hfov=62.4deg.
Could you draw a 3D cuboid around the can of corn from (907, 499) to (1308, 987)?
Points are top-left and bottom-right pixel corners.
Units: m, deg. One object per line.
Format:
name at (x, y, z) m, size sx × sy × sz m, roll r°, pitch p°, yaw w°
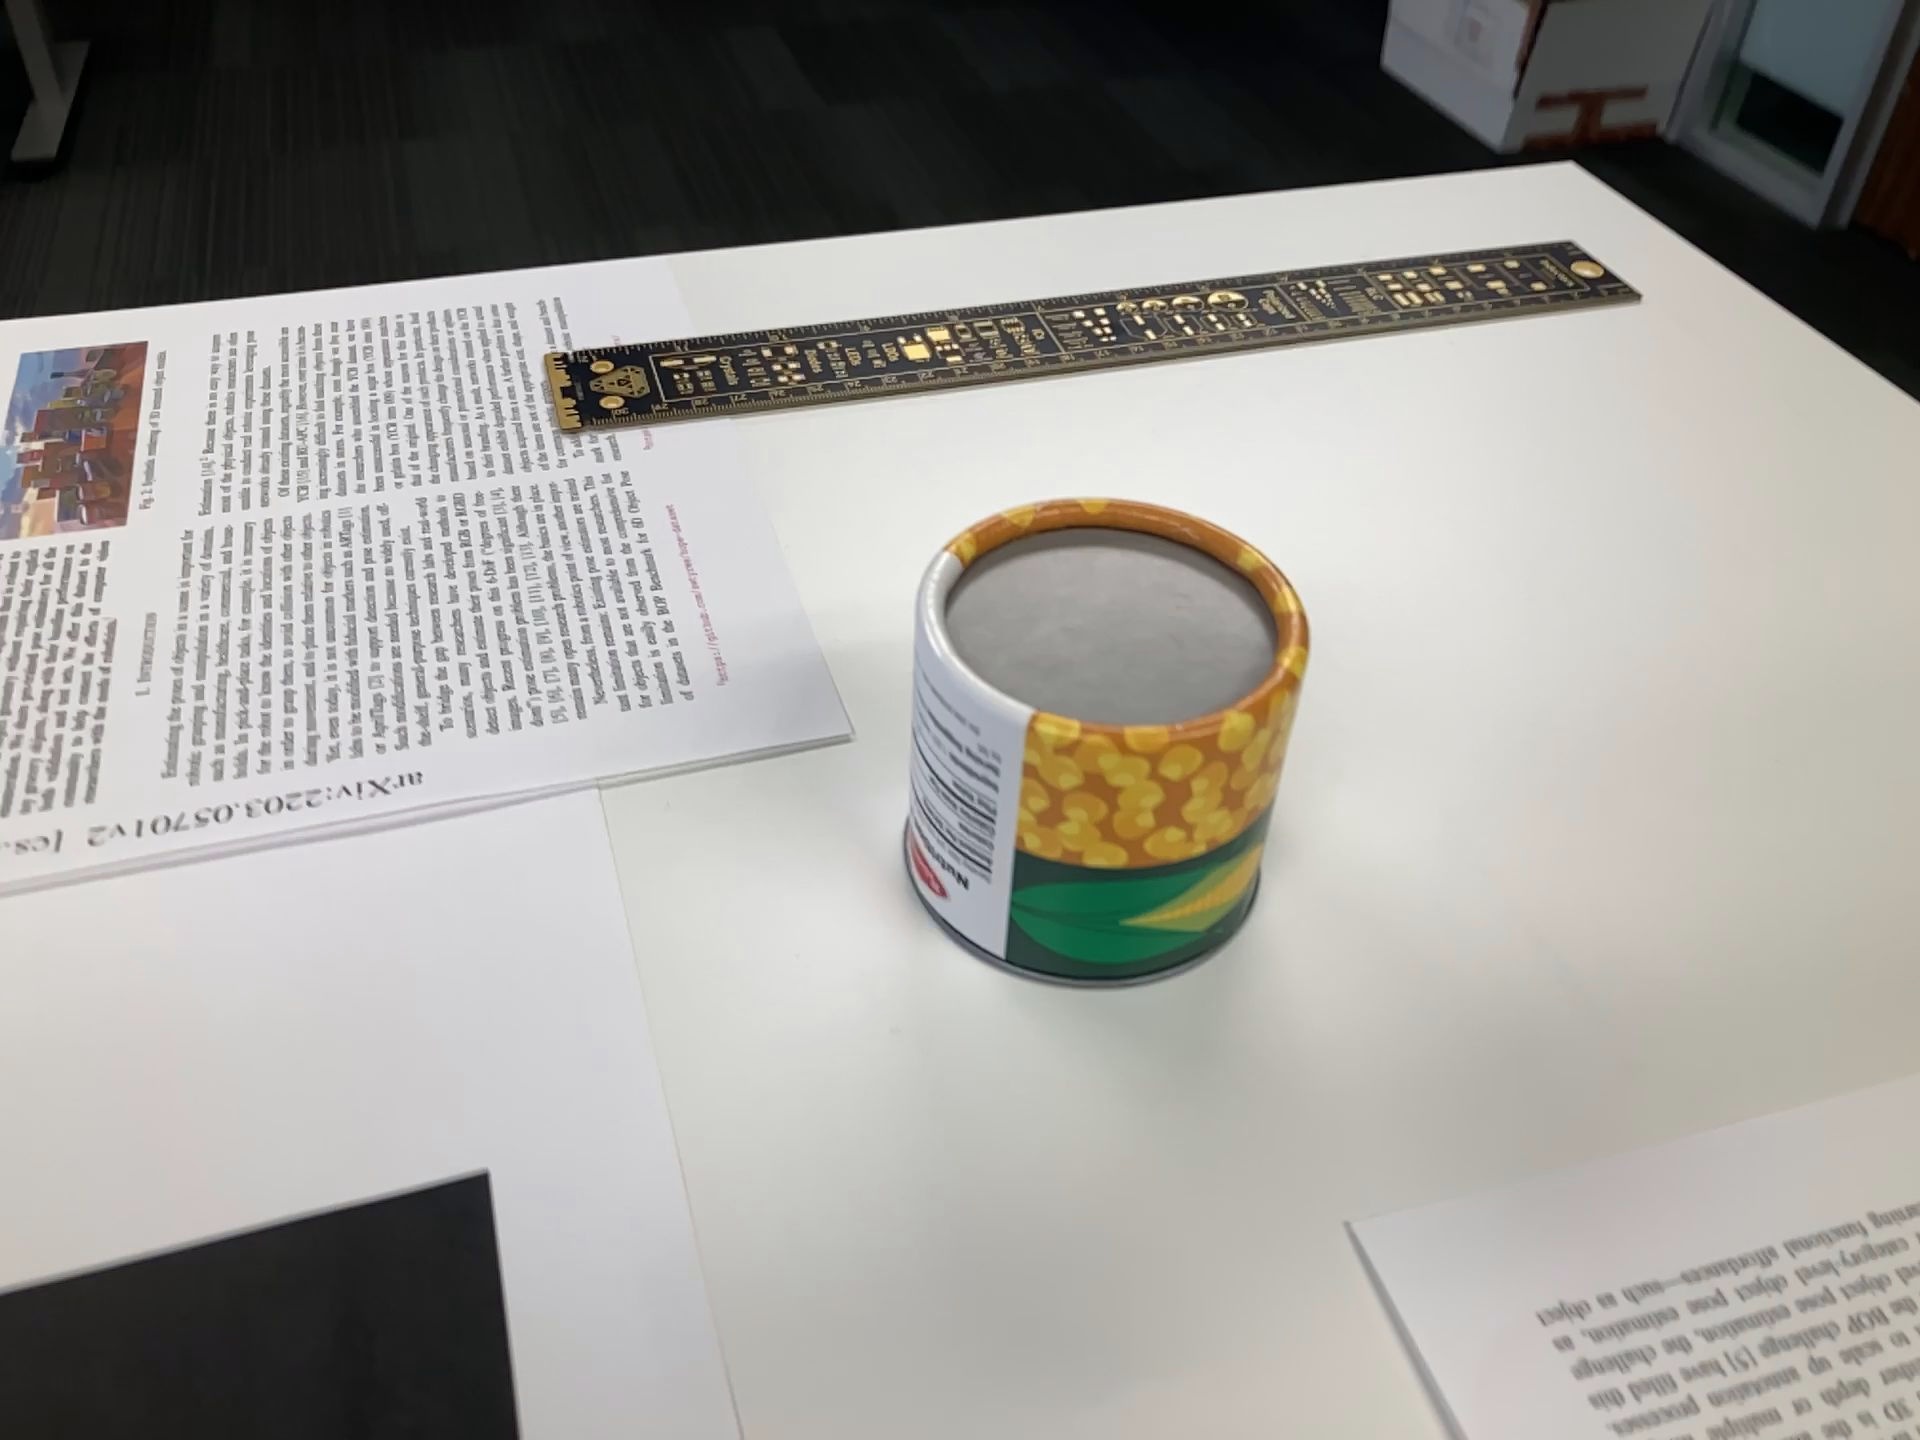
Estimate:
can of corn at (0.026, 0.002, 0.281) m, size 0.071 × 0.058 × 0.071 m, roll 2°, pitch 42°, yaw -1°
